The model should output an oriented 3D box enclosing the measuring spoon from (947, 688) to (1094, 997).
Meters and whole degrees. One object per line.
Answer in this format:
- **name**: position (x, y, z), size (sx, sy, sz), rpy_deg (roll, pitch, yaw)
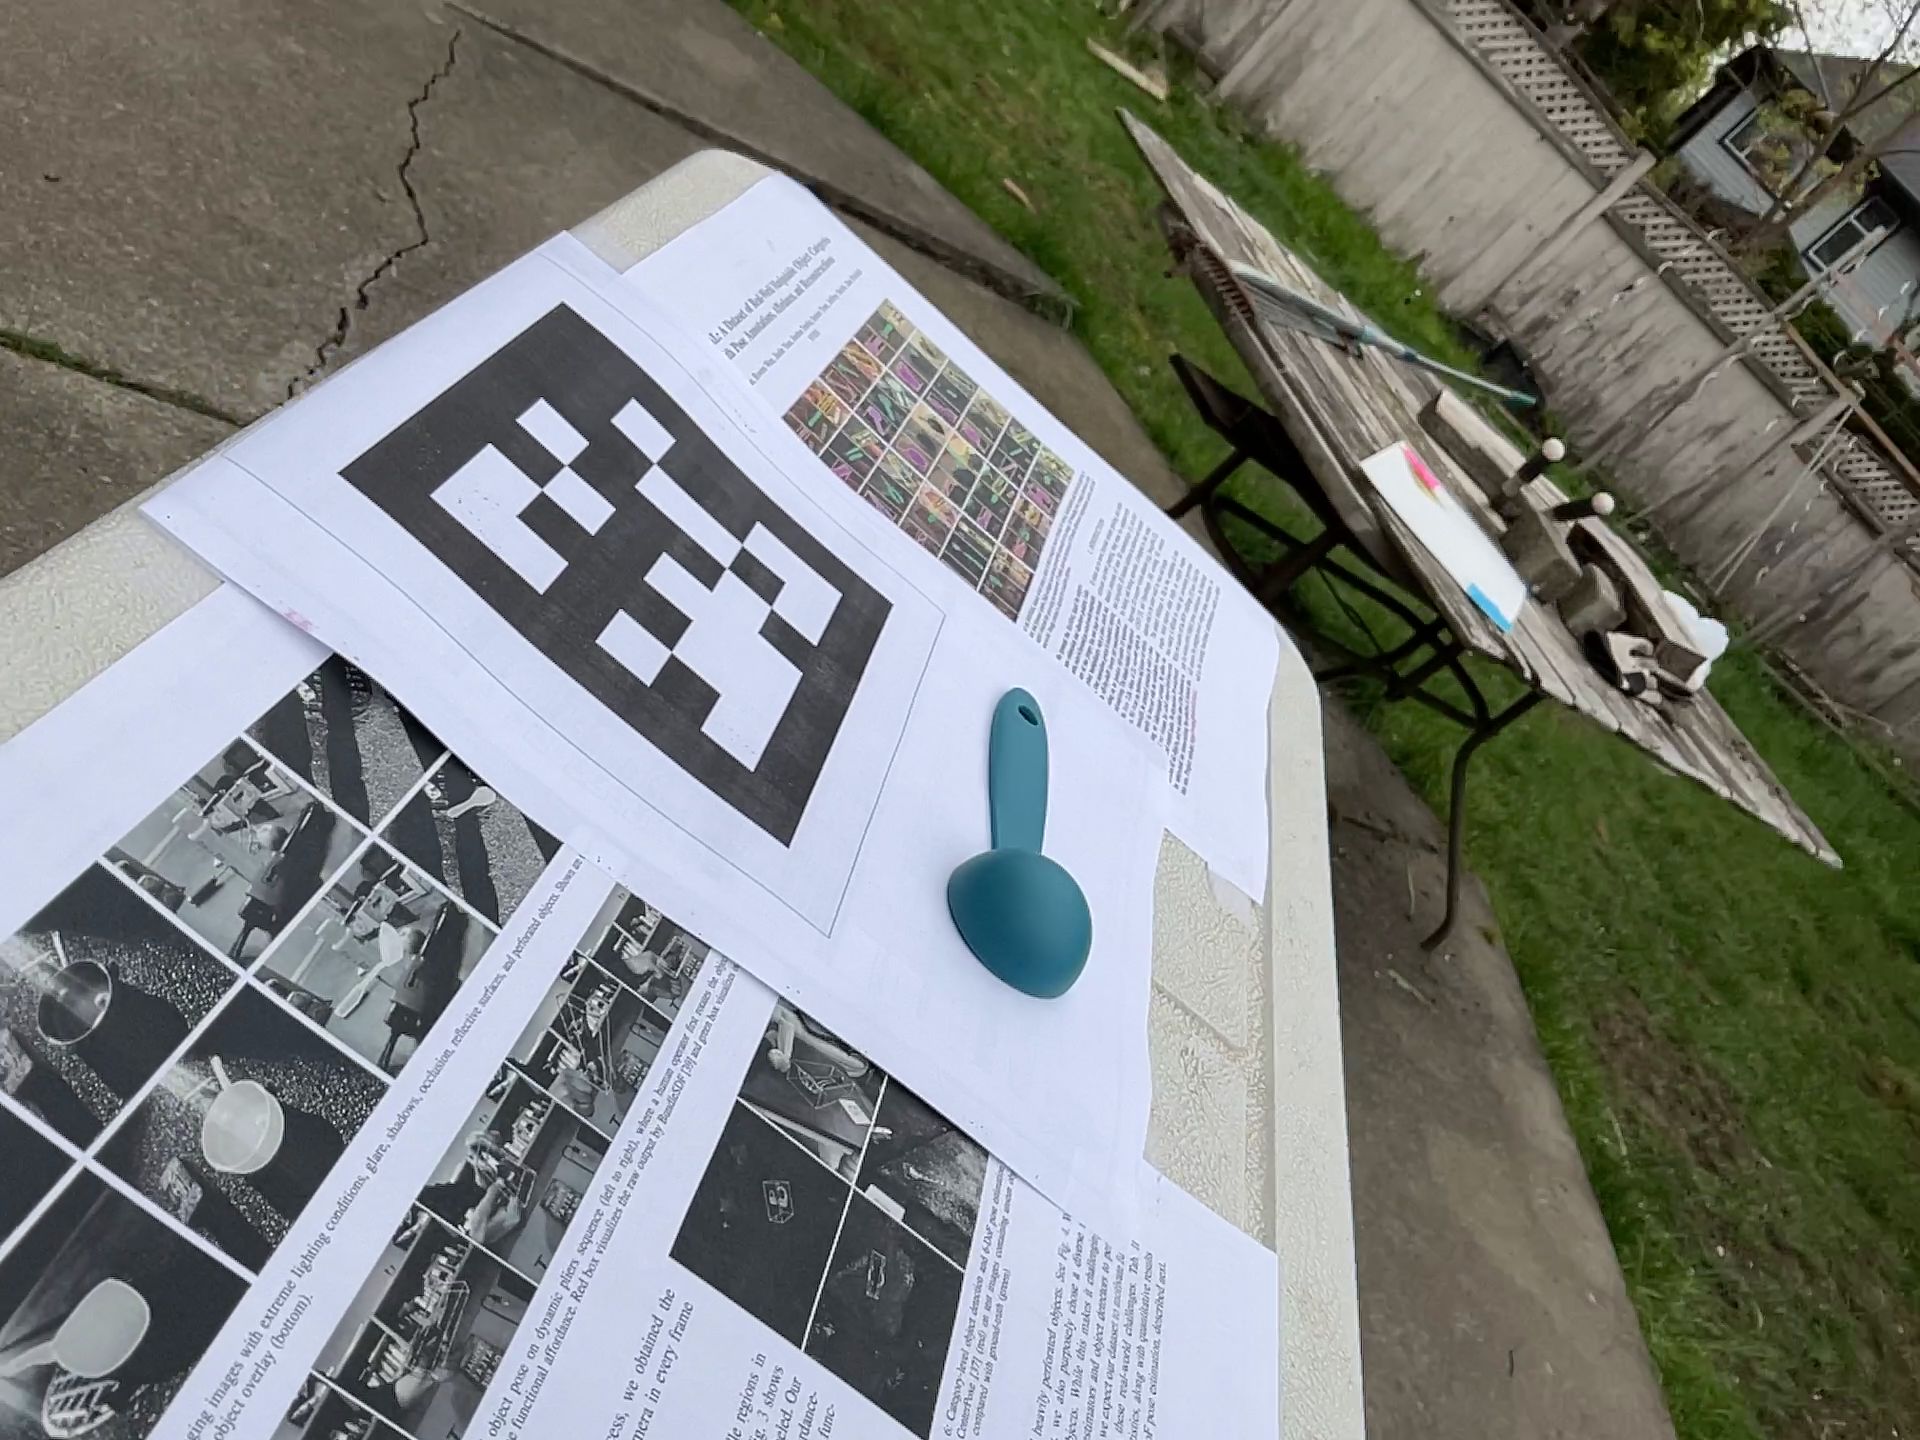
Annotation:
- **measuring spoon**: position (0.021, 0.023, 0.445), size (0.042, 0.021, 0.129), rpy_deg (31, 31, -17)
